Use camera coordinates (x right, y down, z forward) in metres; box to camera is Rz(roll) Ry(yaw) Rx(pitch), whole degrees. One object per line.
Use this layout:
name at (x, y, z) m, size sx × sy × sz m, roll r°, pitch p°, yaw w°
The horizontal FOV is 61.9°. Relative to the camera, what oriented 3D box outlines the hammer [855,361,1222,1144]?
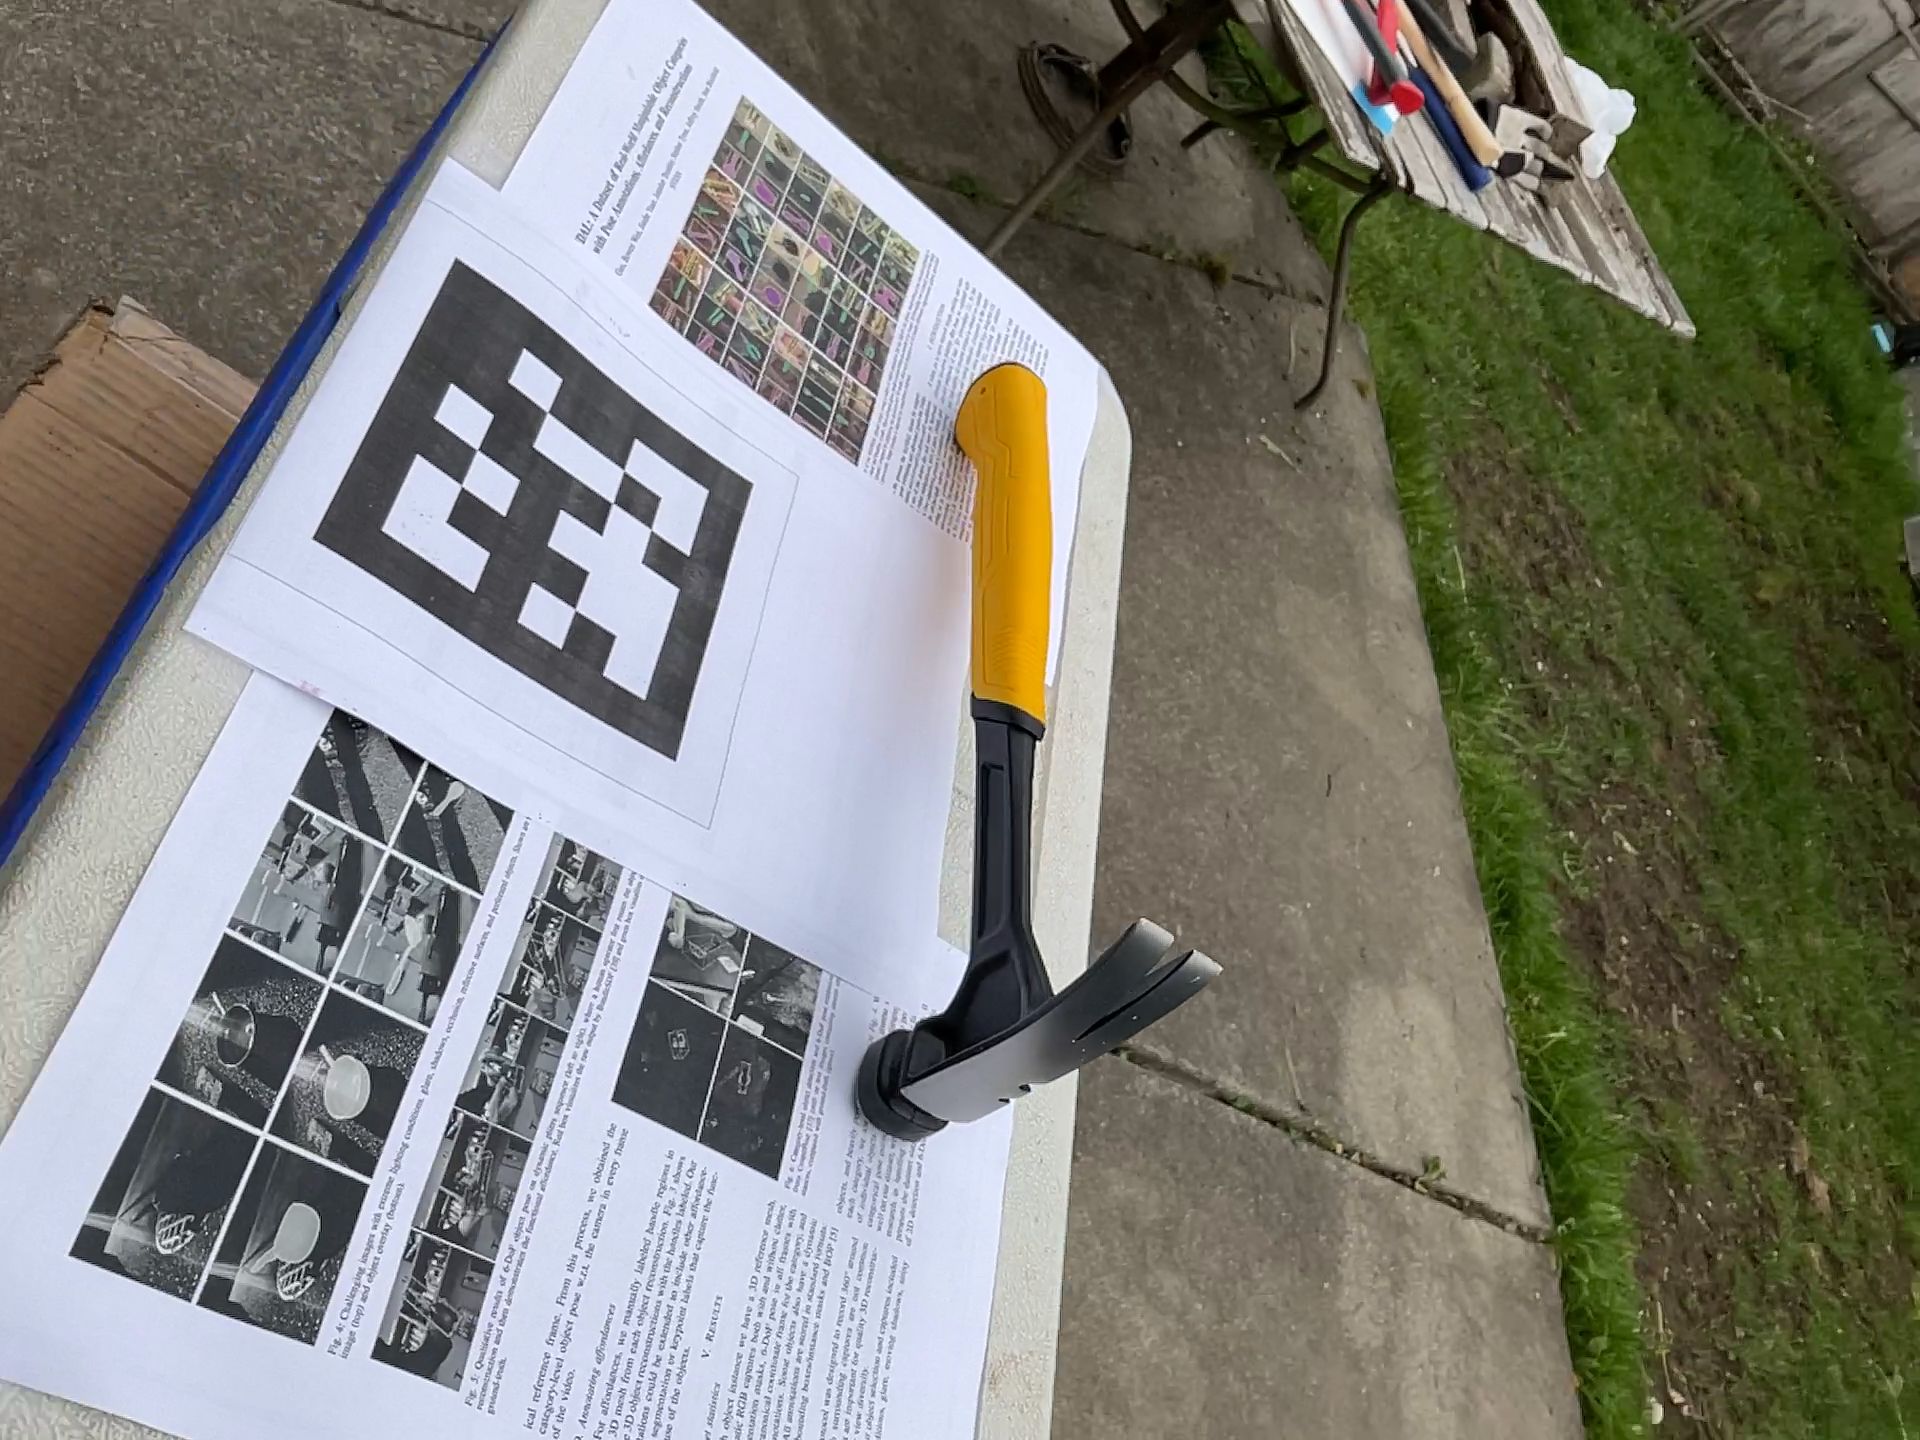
hammer at (0.022, -0.023, 0.577) m, size 0.034 × 0.127 × 0.337 m, roll 32°, pitch 40°, yaw -29°
